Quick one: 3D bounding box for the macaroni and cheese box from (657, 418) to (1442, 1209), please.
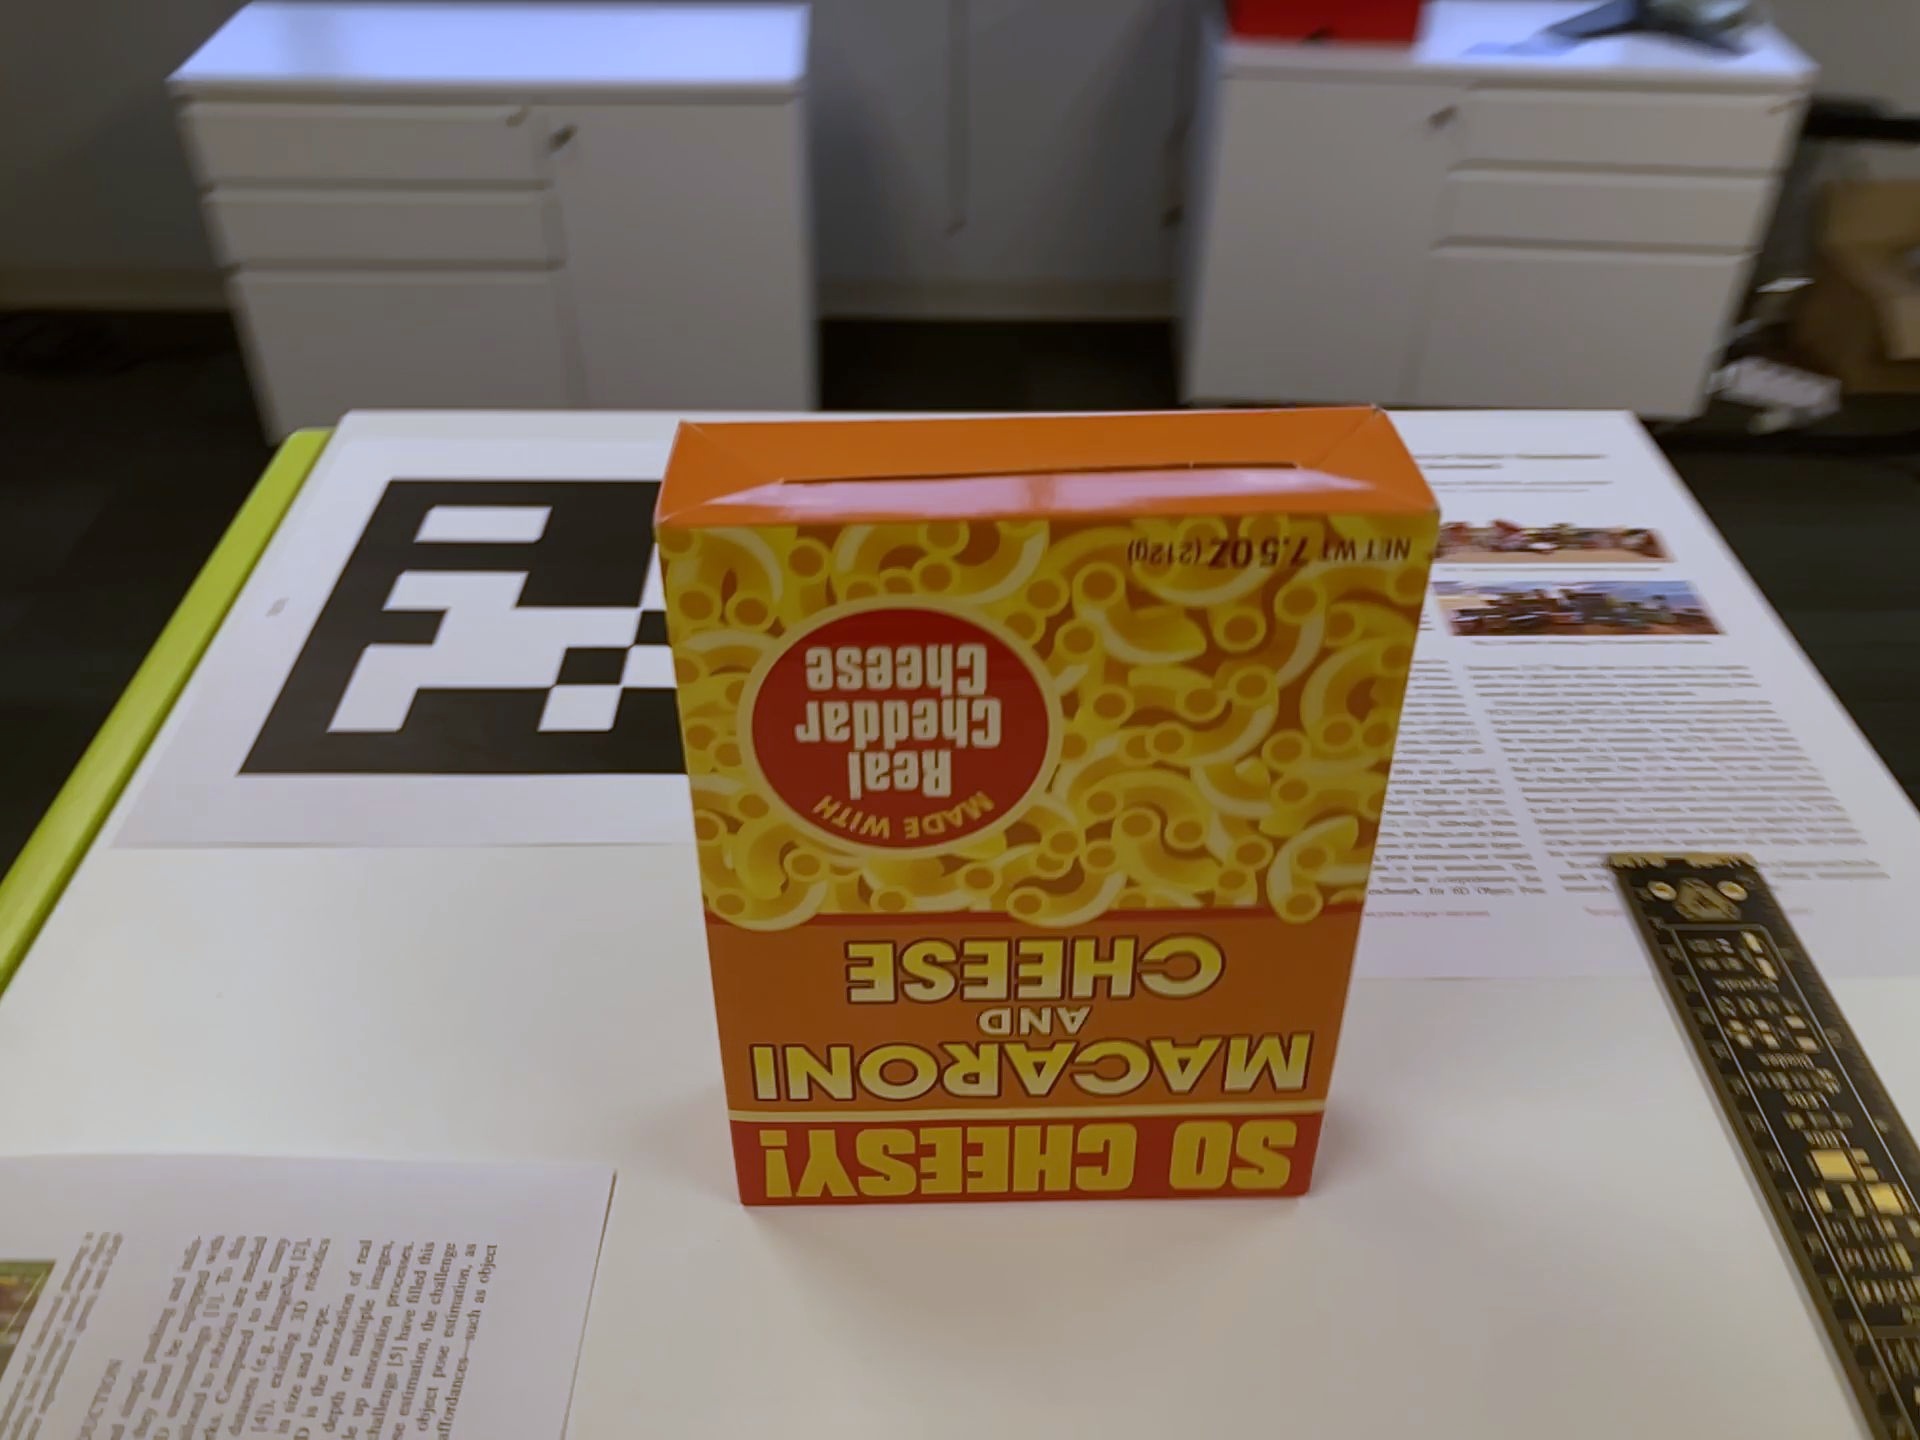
[{"bbox_3d":[0.015,0.026,0.308,0.124,0.166,0.040,-1,36,0],"label":"macaroni and cheese box"}]
